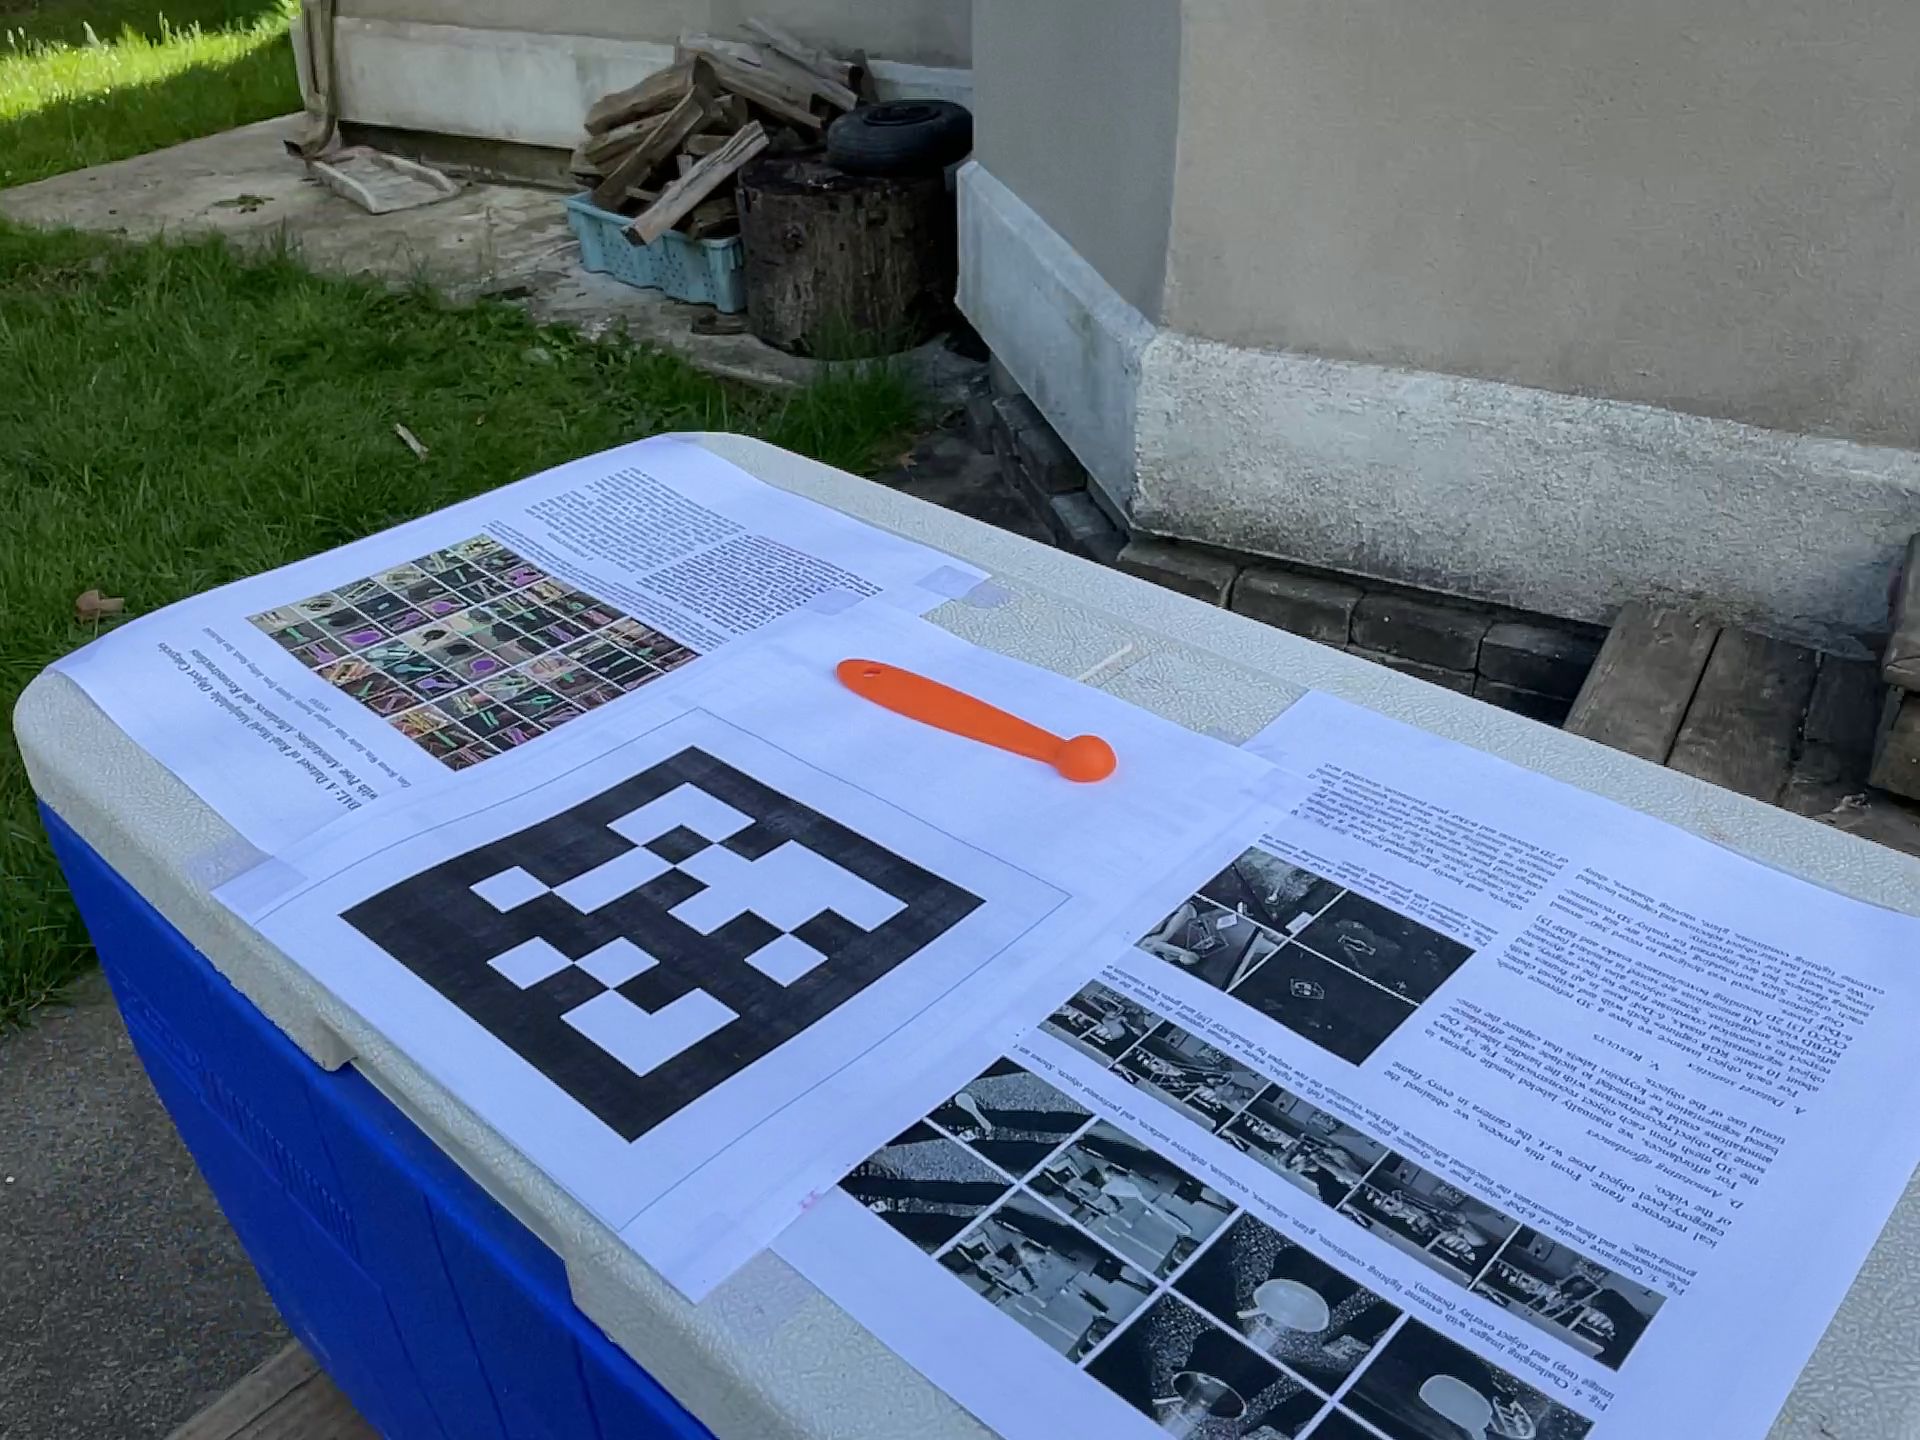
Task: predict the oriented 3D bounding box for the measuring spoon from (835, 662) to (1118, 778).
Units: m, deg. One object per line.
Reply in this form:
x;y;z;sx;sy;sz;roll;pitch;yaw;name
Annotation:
0.002;-0.005;0.538;0.117;0.011;0.021;21;33;34;measuring spoon
